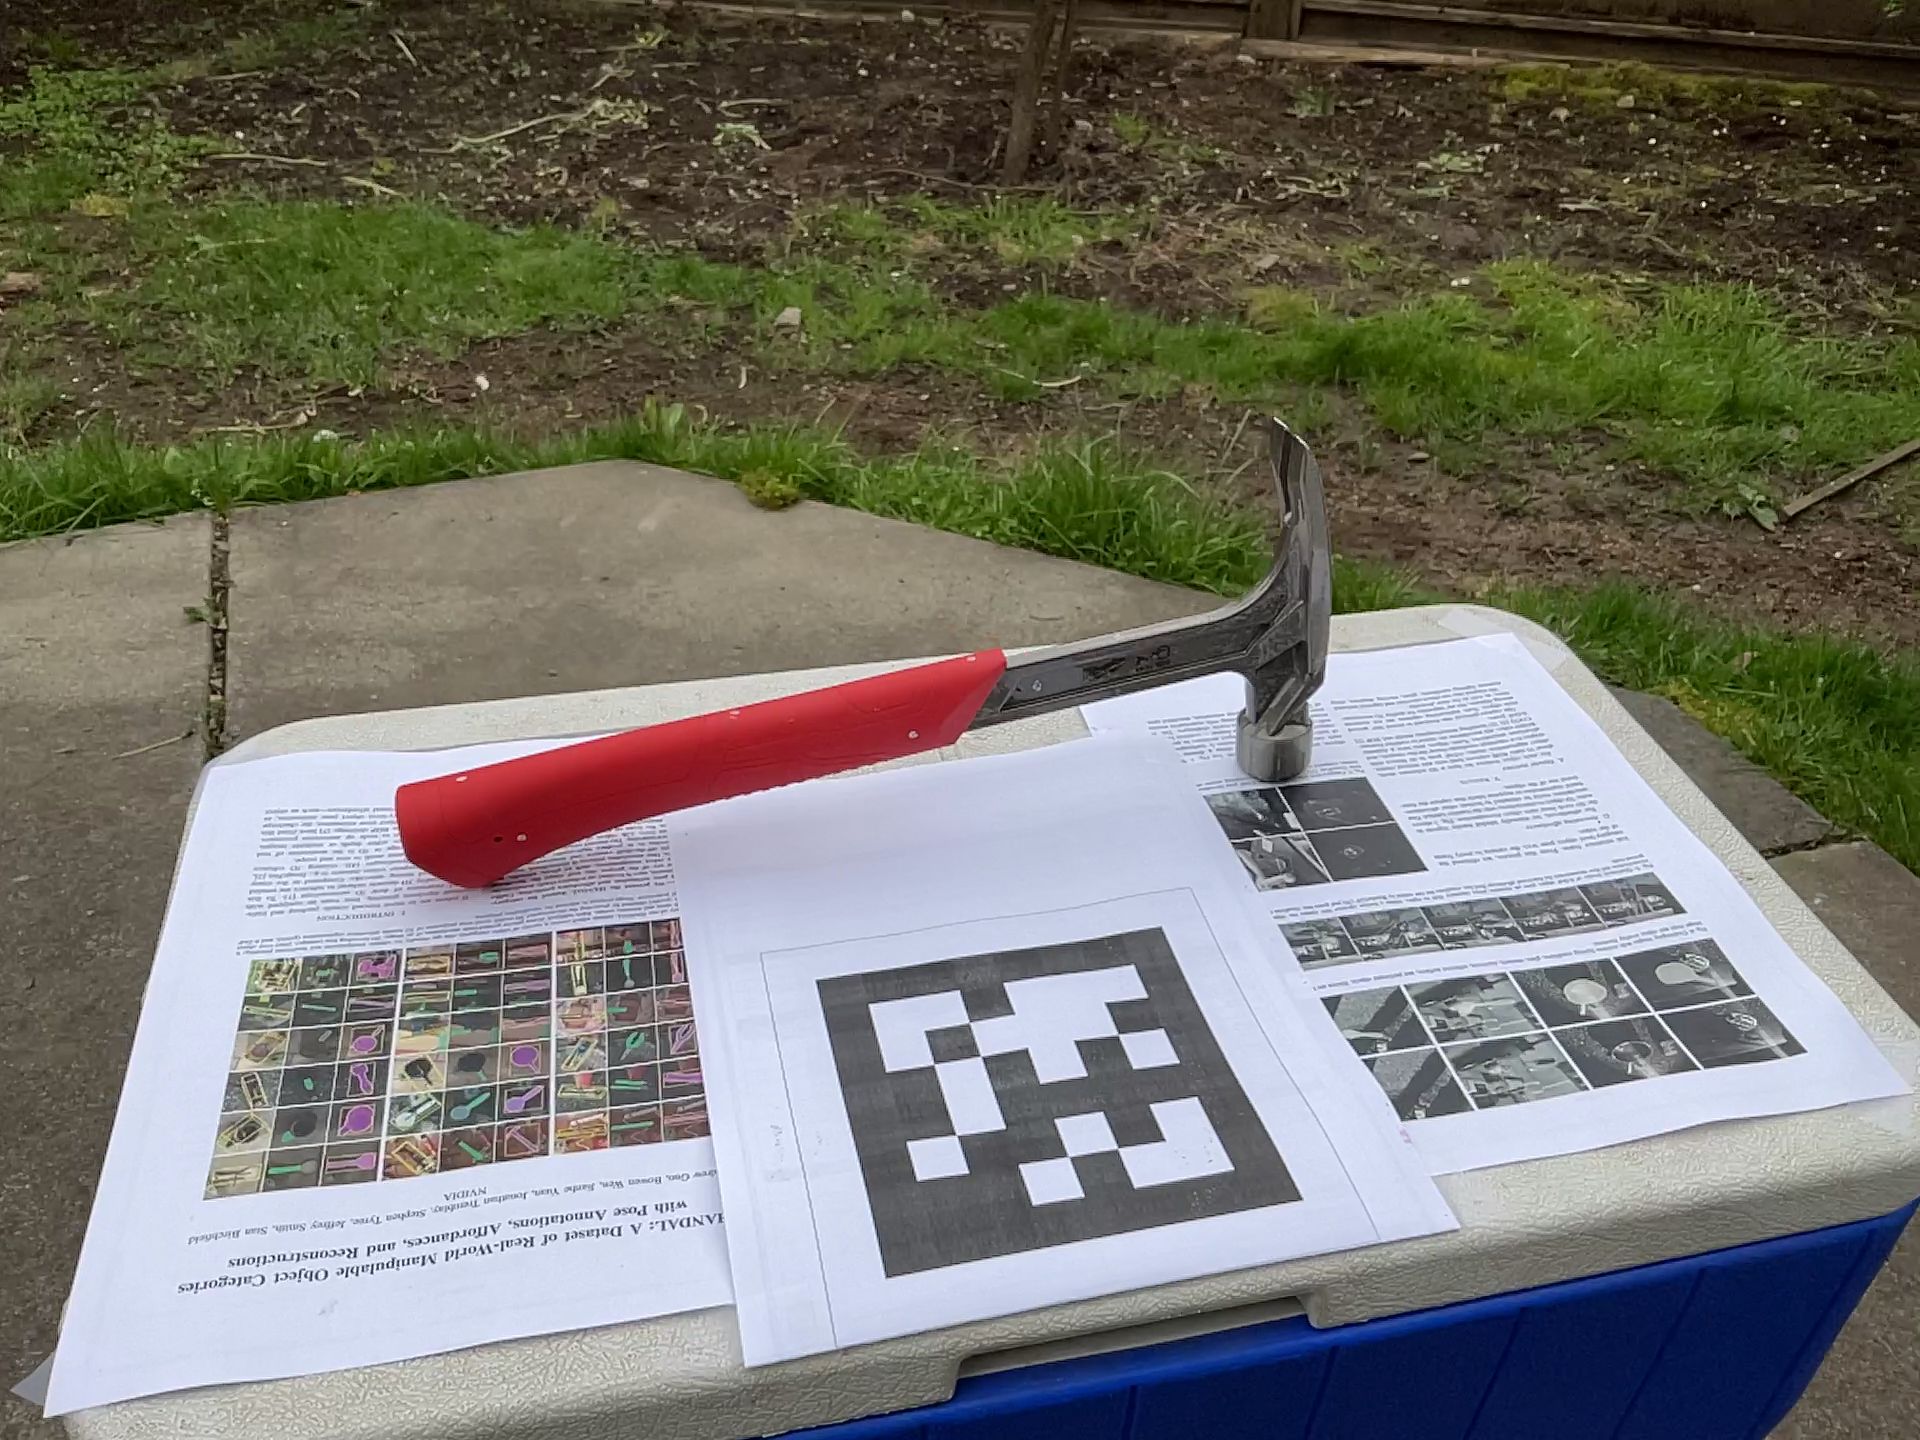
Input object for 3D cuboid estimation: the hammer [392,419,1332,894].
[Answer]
[{"bbox_3d":[-0.031,-0.007,0.606,0.359,0.149,0.037,-13,33,-9],"label":"hammer"}]
